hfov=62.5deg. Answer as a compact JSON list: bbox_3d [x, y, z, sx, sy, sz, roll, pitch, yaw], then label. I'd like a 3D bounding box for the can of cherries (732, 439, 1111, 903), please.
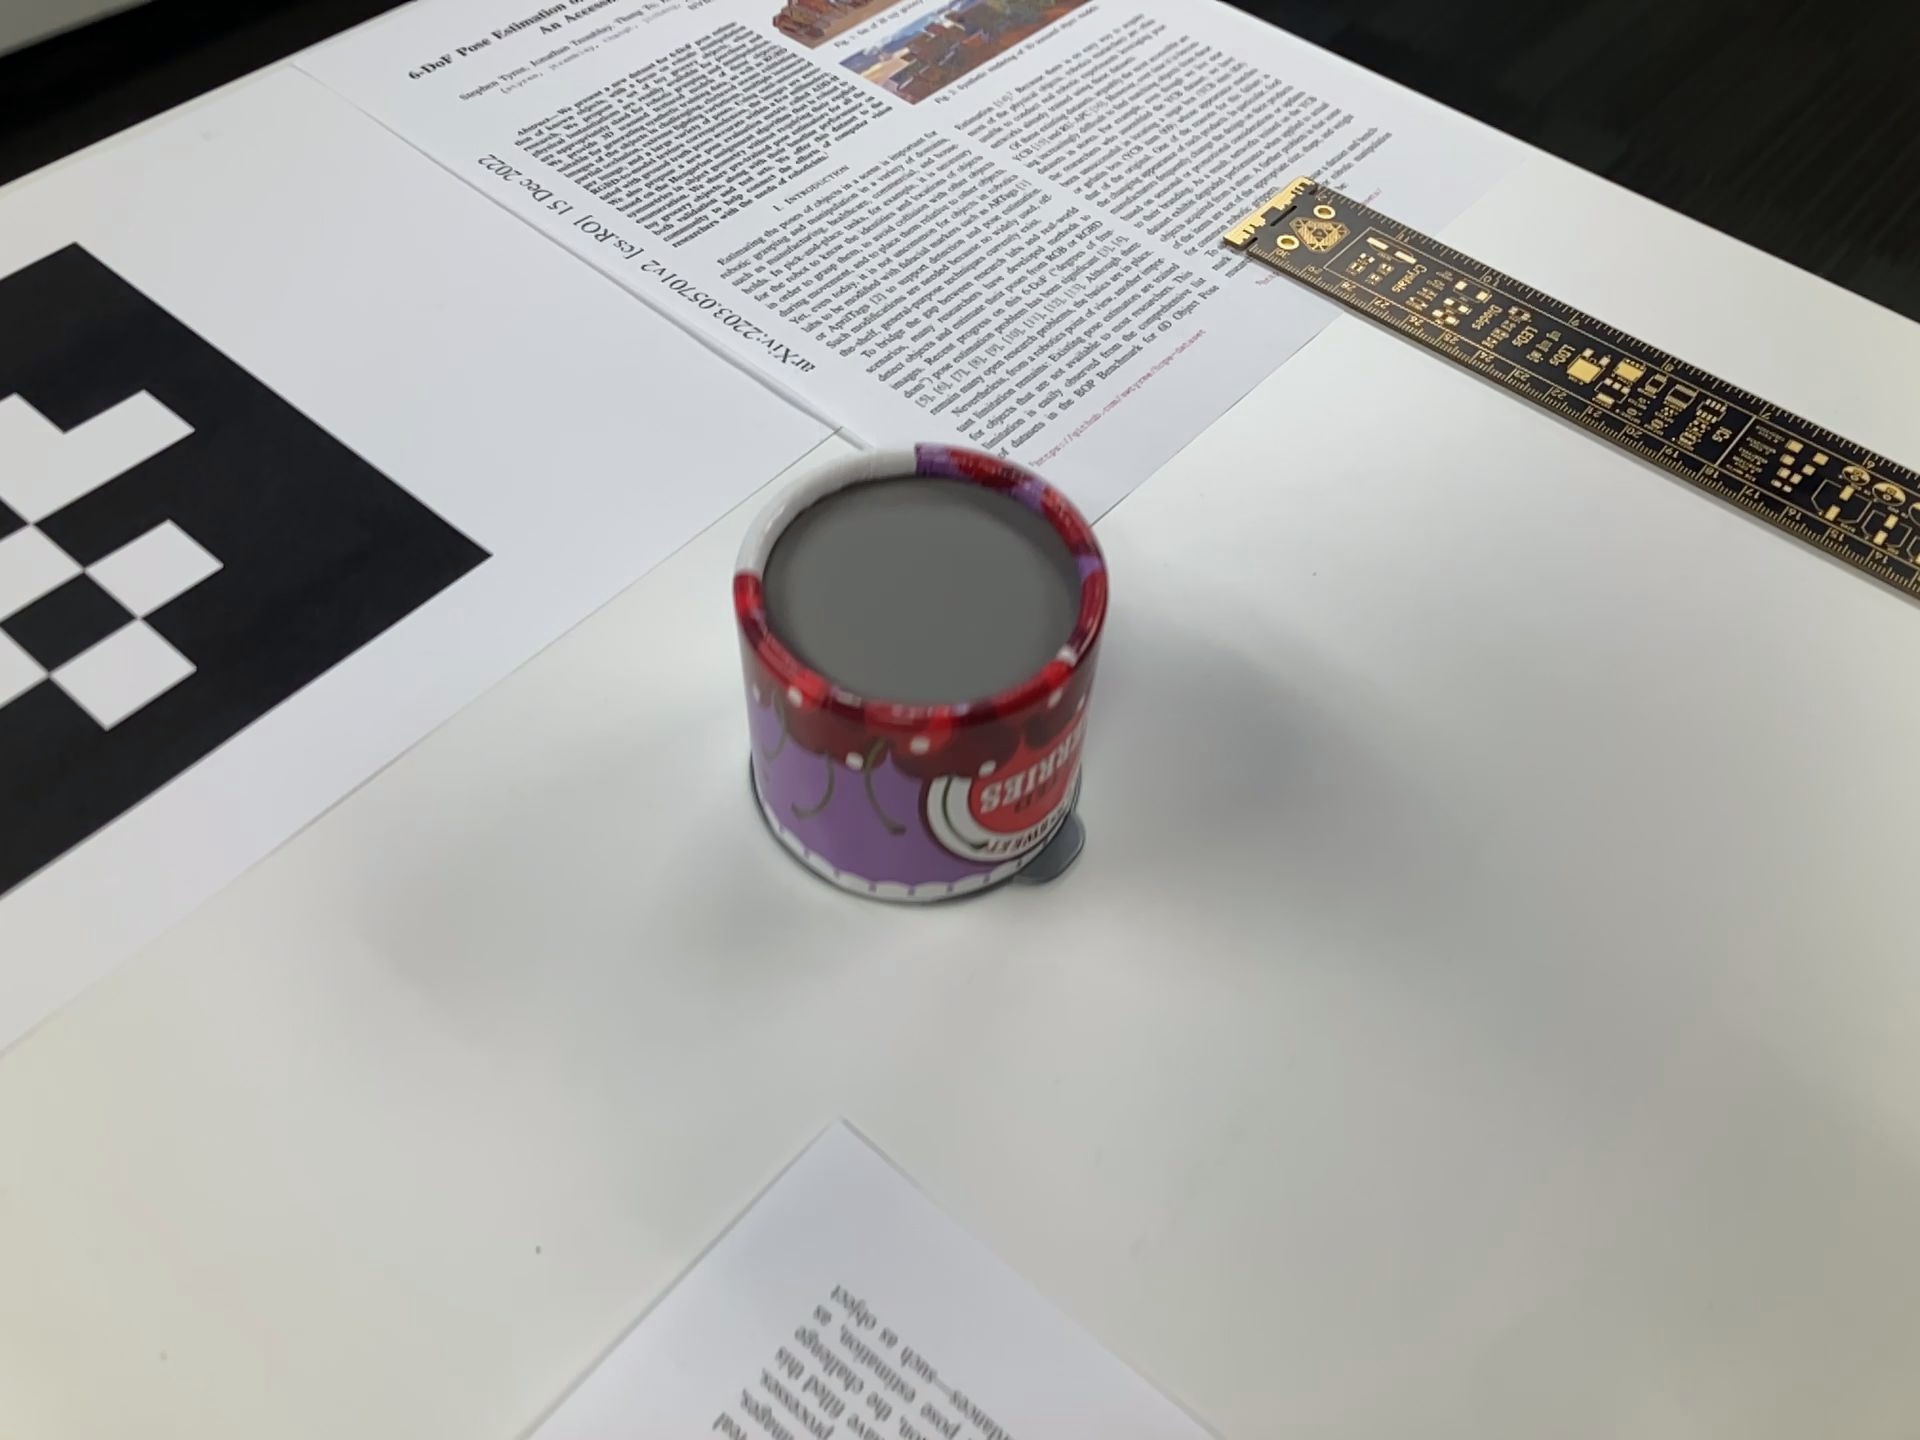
[{"bbox_3d":[-0.005,-0.008,0.292,0.071,0.058,0.071,2,53,-2],"label":"can of cherries"}]
